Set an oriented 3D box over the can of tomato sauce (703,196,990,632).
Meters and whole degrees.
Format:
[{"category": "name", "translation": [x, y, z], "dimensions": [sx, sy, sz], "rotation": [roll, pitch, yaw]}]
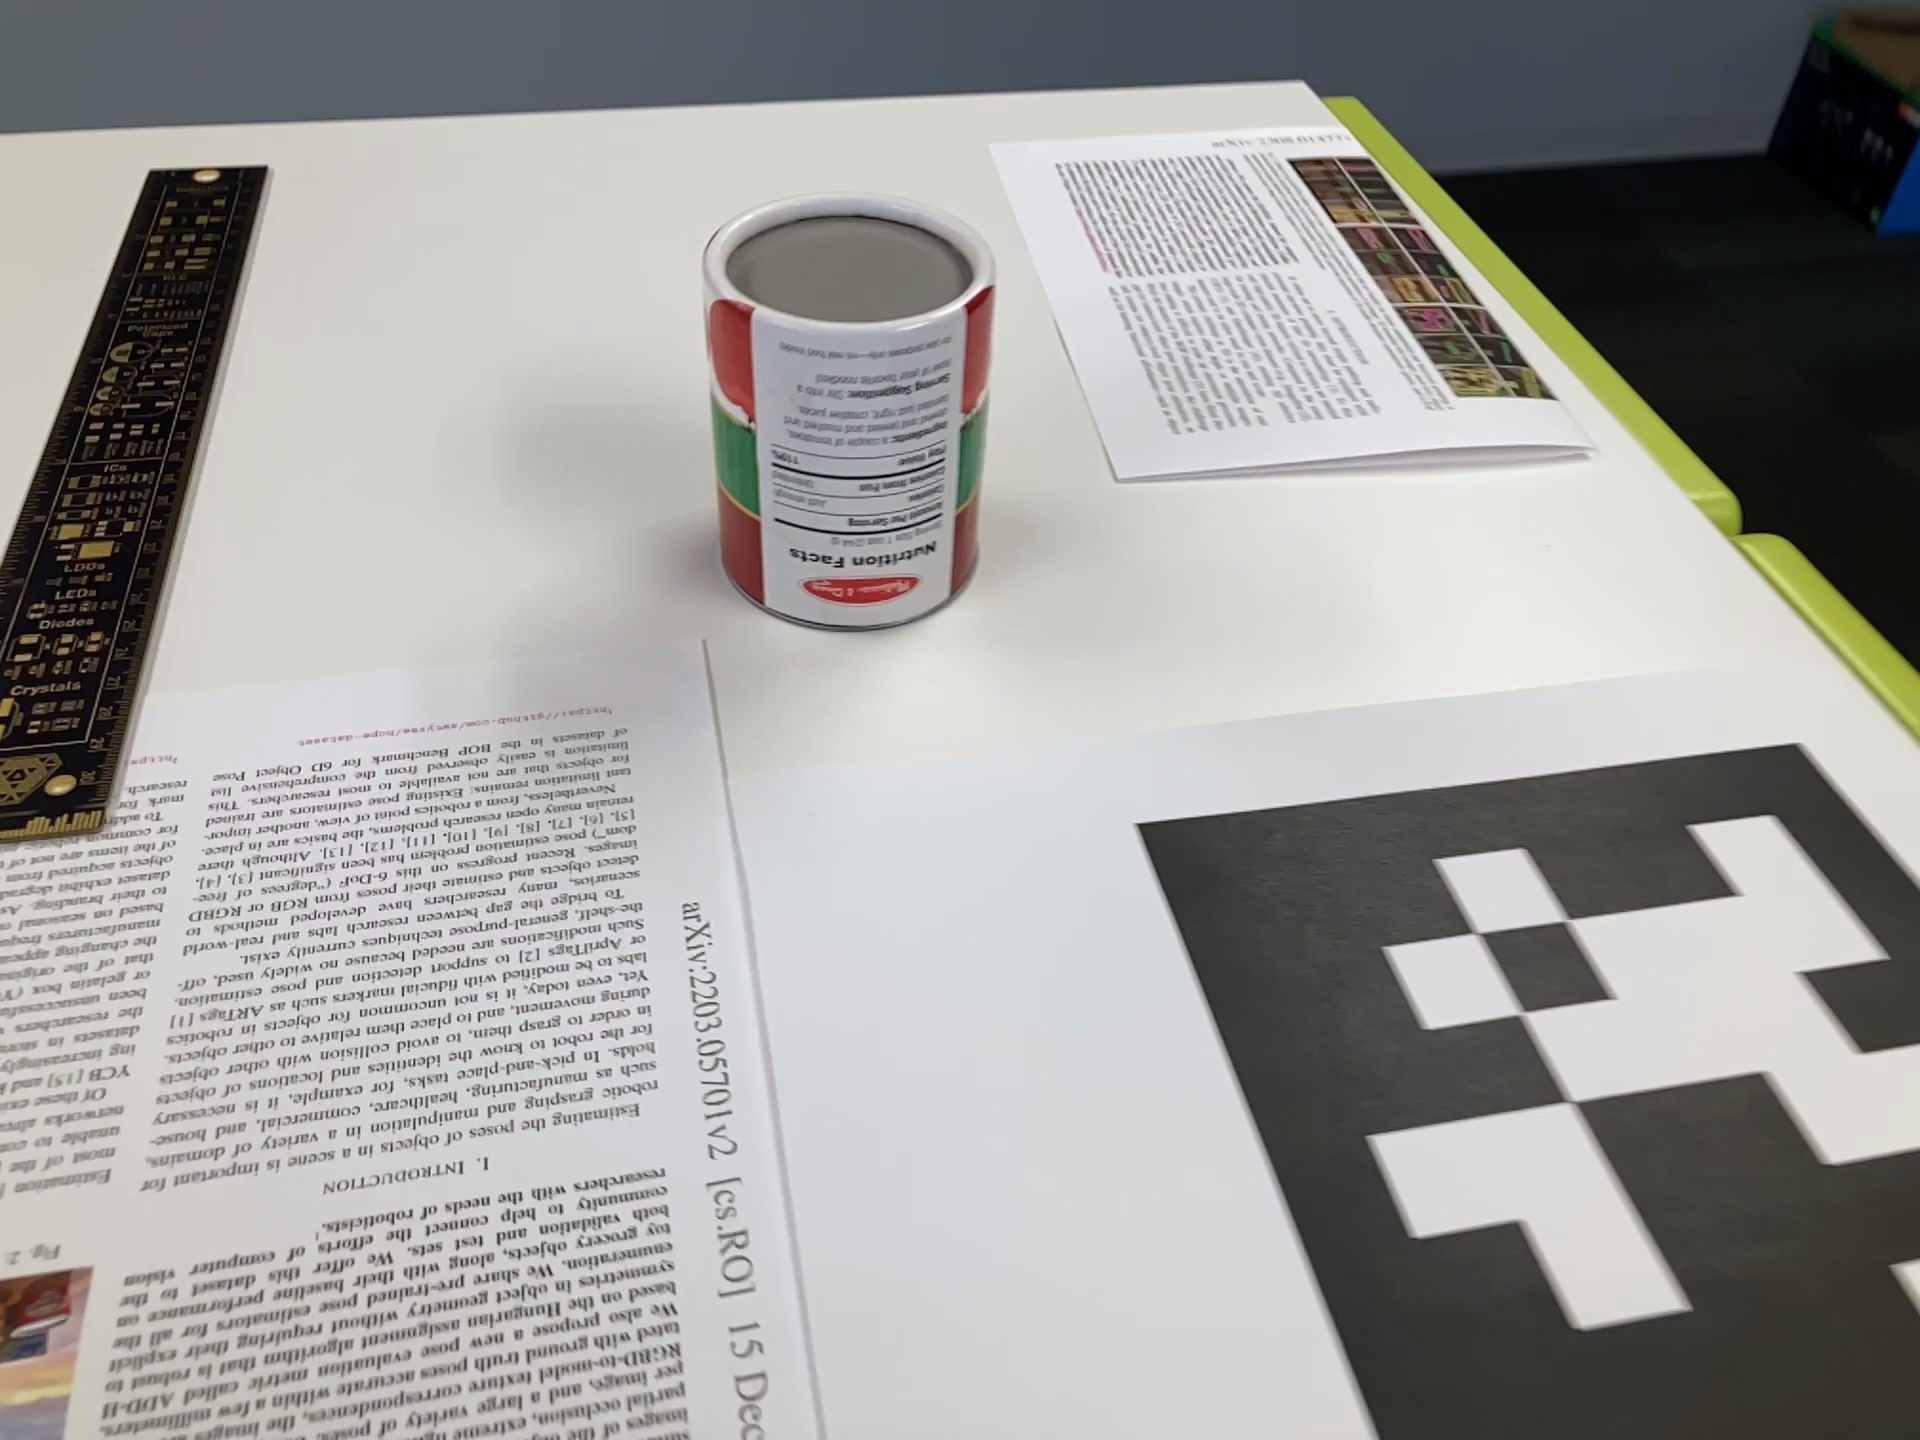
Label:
[{"category": "can of tomato sauce", "translation": [-0.026, -0.076, 0.387], "dimensions": [0.071, 0.083, 0.071], "rotation": [0, 43, 0]}]
